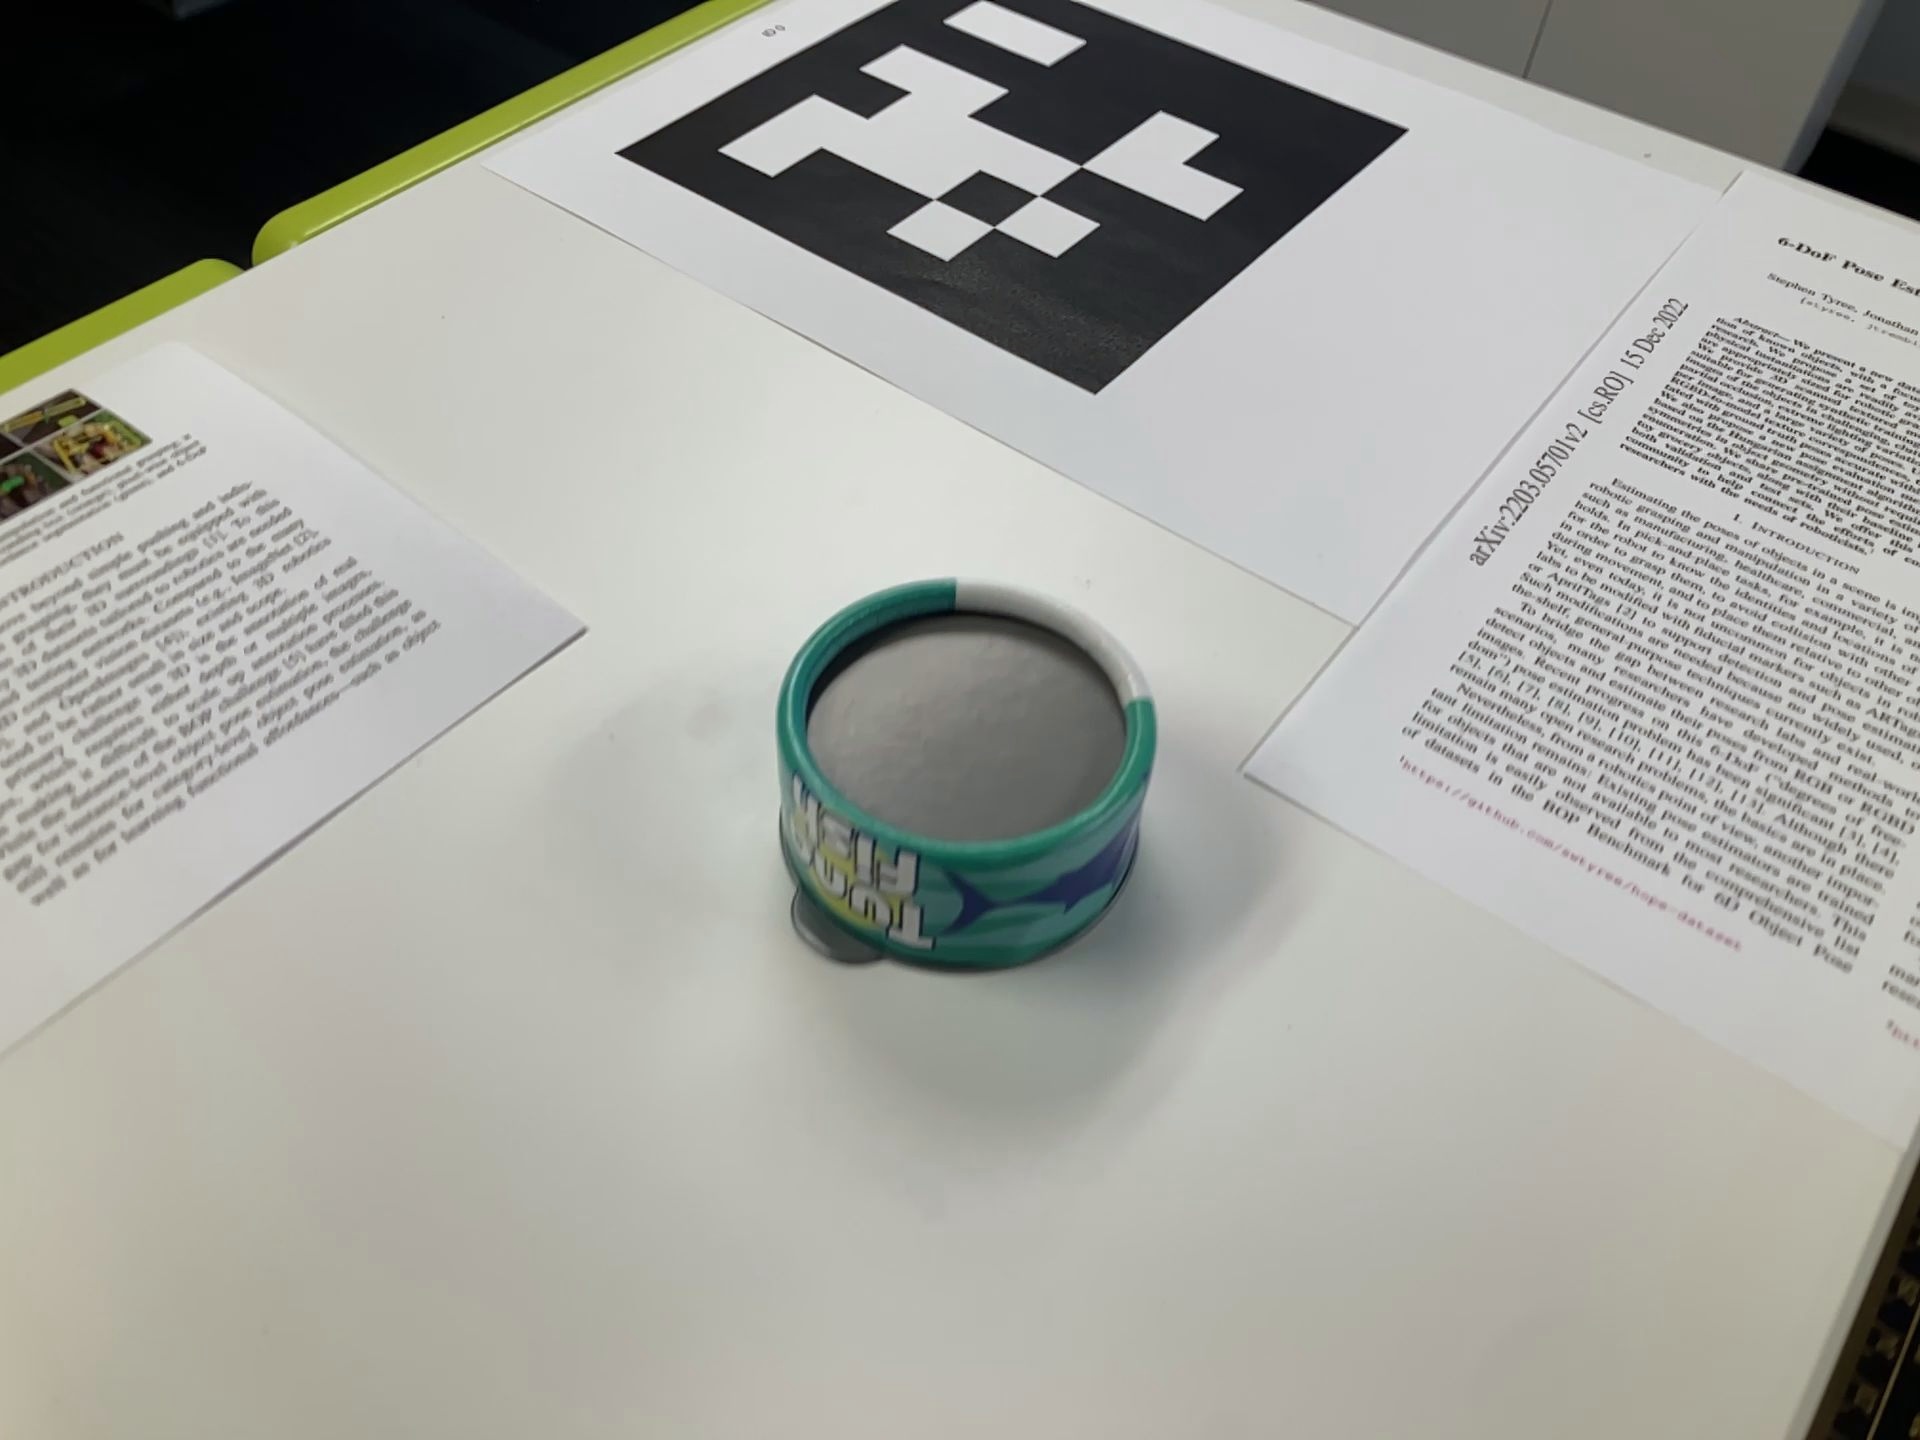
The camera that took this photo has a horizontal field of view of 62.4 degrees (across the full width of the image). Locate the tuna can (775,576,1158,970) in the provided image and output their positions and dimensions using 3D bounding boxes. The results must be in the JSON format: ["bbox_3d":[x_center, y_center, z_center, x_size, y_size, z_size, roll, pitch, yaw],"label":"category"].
[{"bbox_3d":[-0.001,0.009,0.279,0.071,0.033,0.071,0,49,-1],"label":"tuna can"}]
